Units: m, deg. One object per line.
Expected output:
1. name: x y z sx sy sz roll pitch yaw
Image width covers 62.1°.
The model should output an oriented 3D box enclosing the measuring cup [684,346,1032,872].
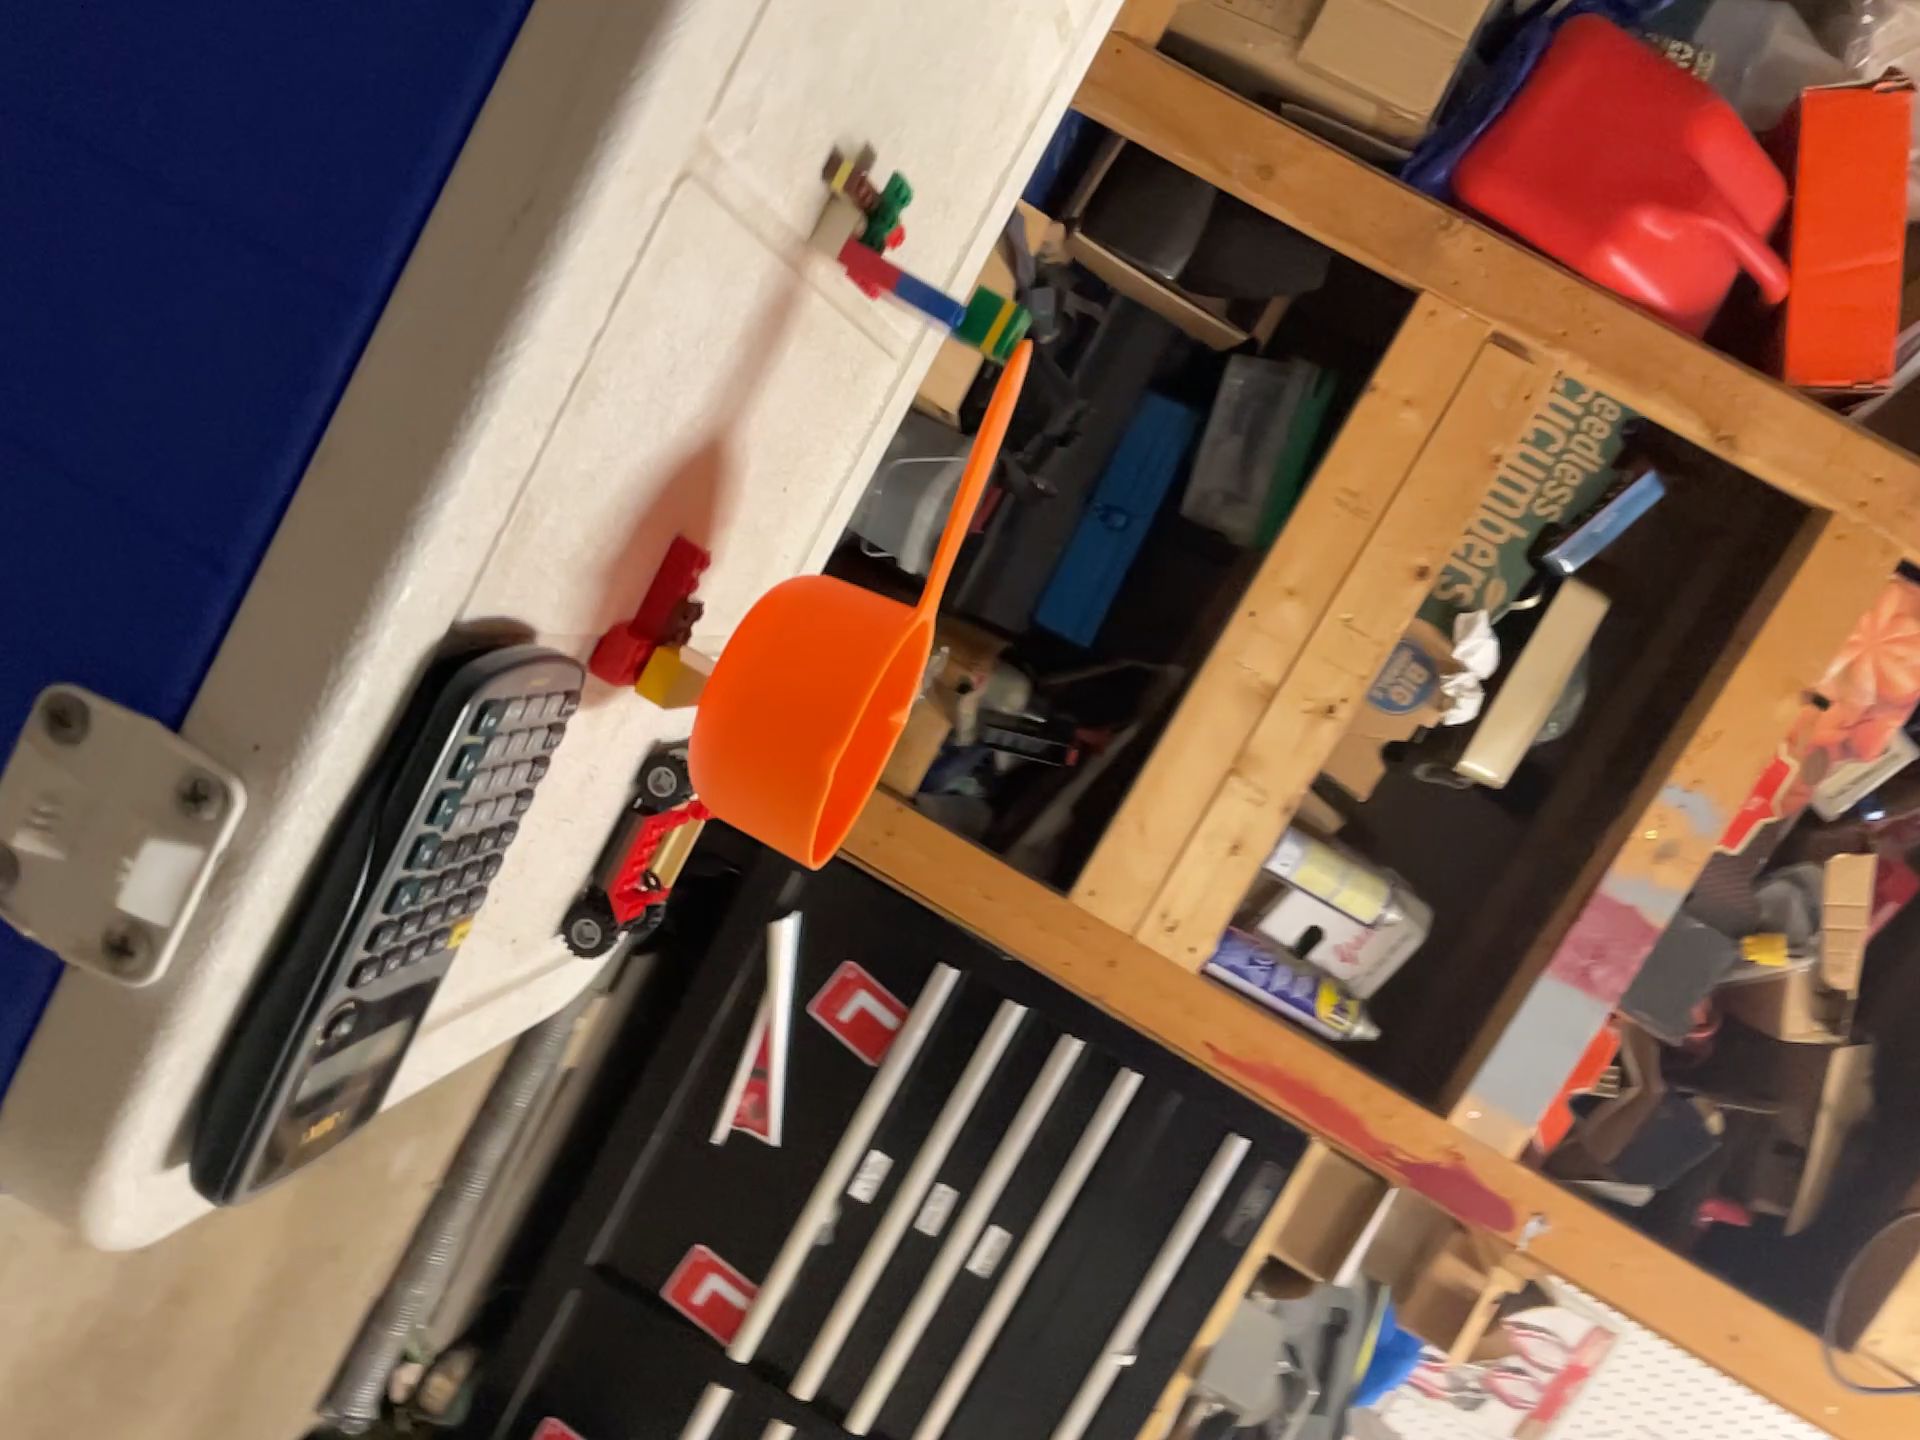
1. measuring cup: -0.033 -0.041 0.491 0.095 0.052 0.173 -35 149 -77
